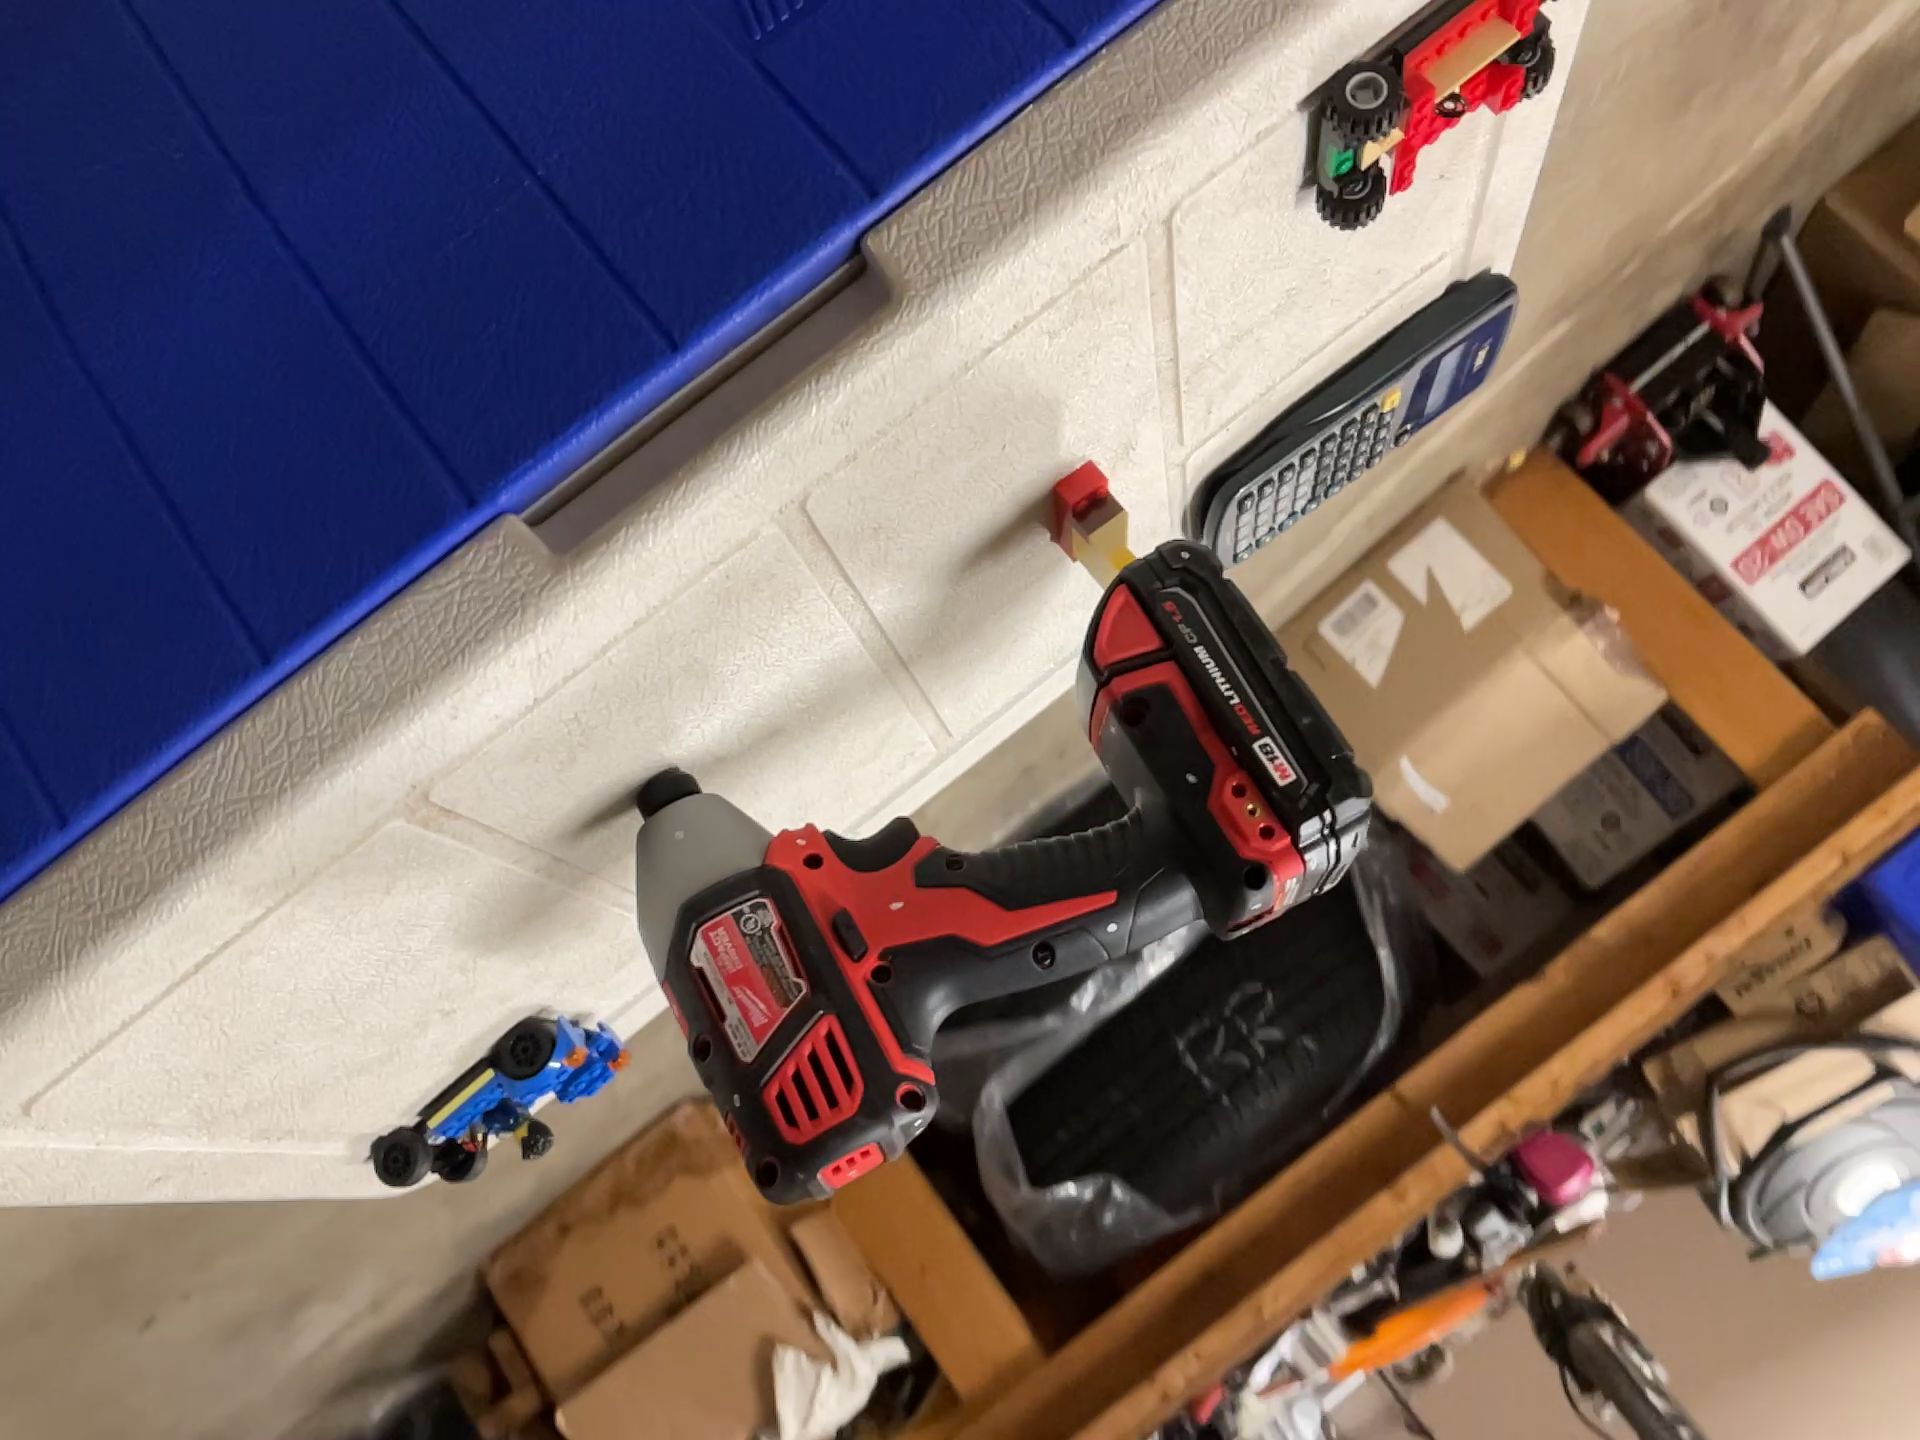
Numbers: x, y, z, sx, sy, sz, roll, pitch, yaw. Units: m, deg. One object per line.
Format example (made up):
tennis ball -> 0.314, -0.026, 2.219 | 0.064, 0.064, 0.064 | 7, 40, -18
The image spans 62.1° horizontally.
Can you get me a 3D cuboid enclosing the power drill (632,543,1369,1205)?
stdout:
power drill -> 0.005, 0.041, 0.513 | 0.219, 0.143, 0.078 | -28, 159, -9
